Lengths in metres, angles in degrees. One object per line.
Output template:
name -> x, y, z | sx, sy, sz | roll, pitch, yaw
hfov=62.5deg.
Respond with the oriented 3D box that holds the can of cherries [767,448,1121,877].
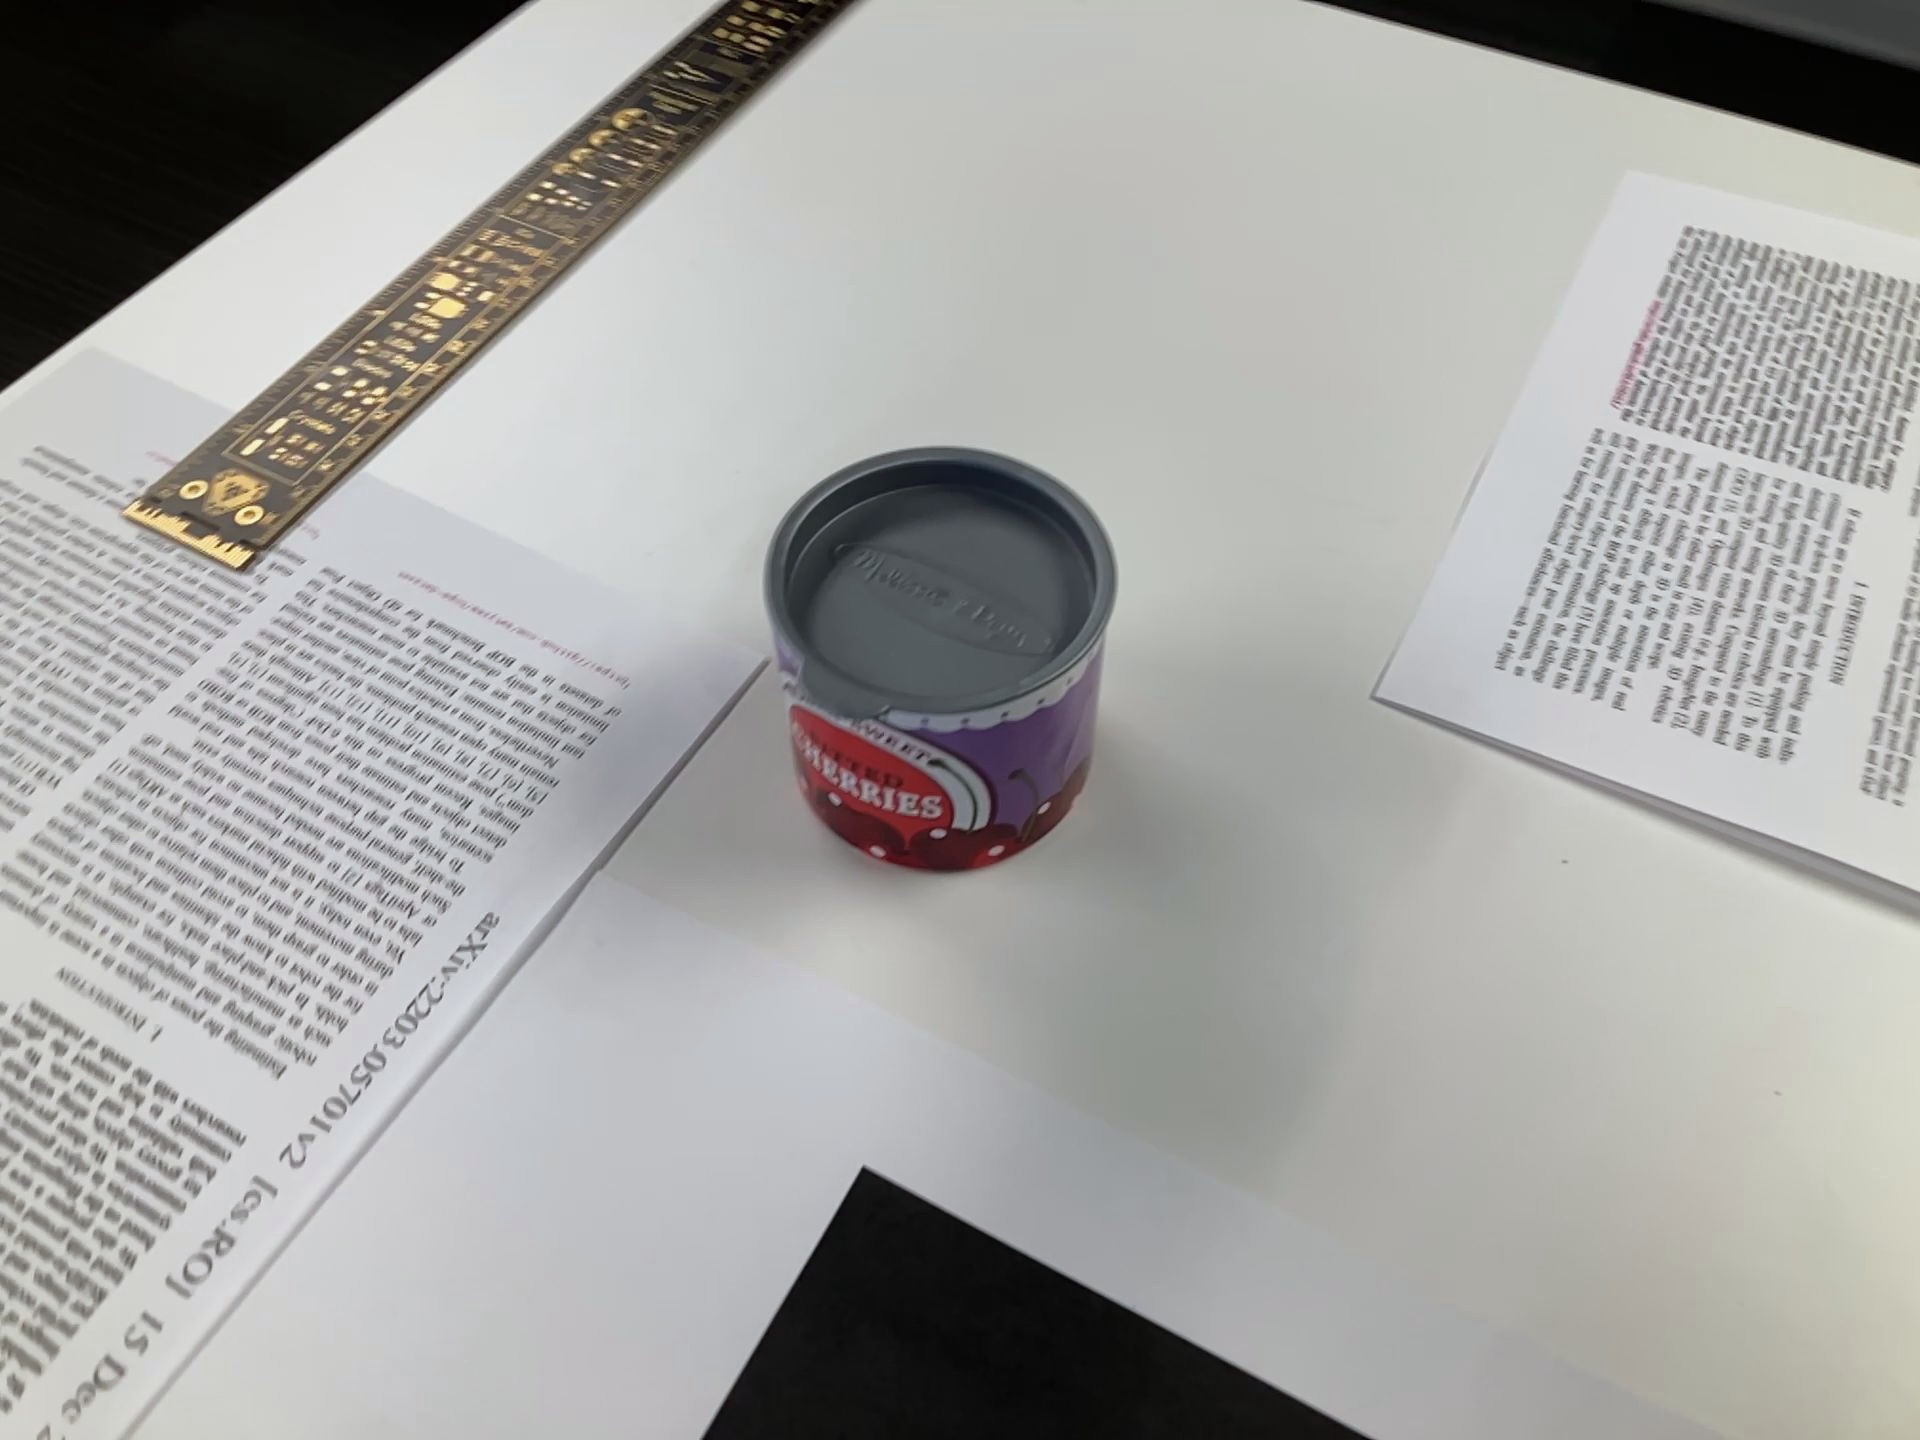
can of cherries -> -0.005, -0.009, 0.316 | 0.071, 0.058, 0.071 | 0, 54, 0
